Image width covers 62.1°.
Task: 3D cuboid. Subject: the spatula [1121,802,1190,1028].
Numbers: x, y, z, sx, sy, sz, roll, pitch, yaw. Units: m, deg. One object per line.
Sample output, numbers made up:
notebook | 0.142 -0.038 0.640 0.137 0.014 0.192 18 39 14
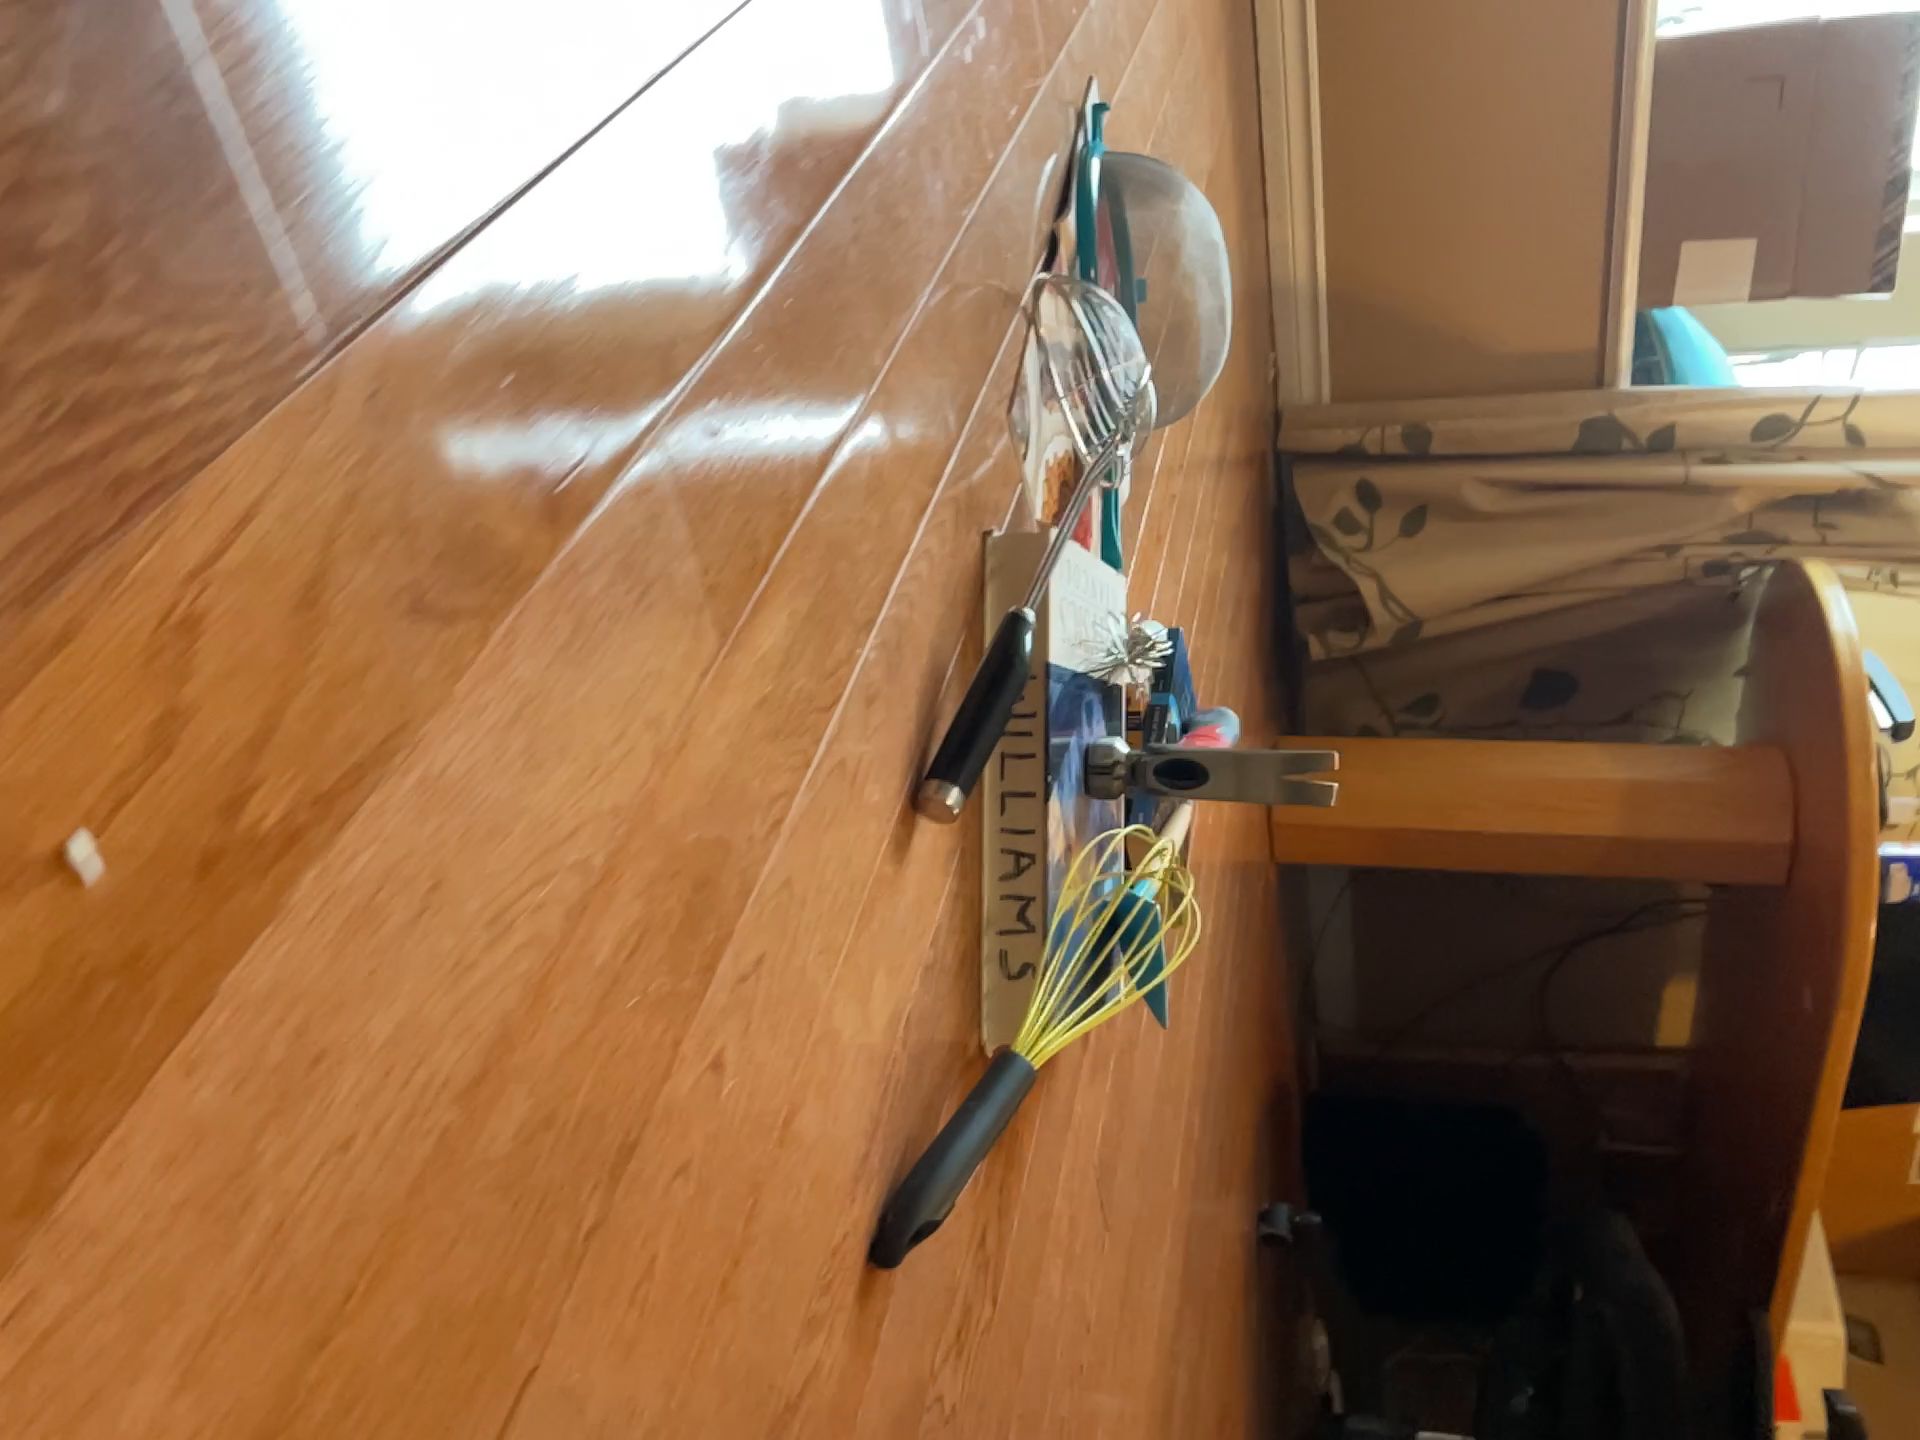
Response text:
spatula | 0.140 0.107 1.082 0.318 0.044 0.082 -43 128 -69

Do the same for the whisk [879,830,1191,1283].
whisk | 0.040 0.153 0.776 0.312 0.067 0.079 -48 152 -47

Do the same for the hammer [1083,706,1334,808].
hammer | 0.183 0.019 1.093 0.386 0.143 0.038 -16 108 -77

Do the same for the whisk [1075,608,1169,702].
whisk | 0.108 -0.045 0.988 0.059 0.057 0.246 58 12 1

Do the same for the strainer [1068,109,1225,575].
strainer | 0.139 -0.248 1.099 0.211 0.095 0.341 64 23 -58

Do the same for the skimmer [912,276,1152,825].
skimmer | 0.024 -0.097 0.844 0.127 0.090 0.364 75 32 -48
